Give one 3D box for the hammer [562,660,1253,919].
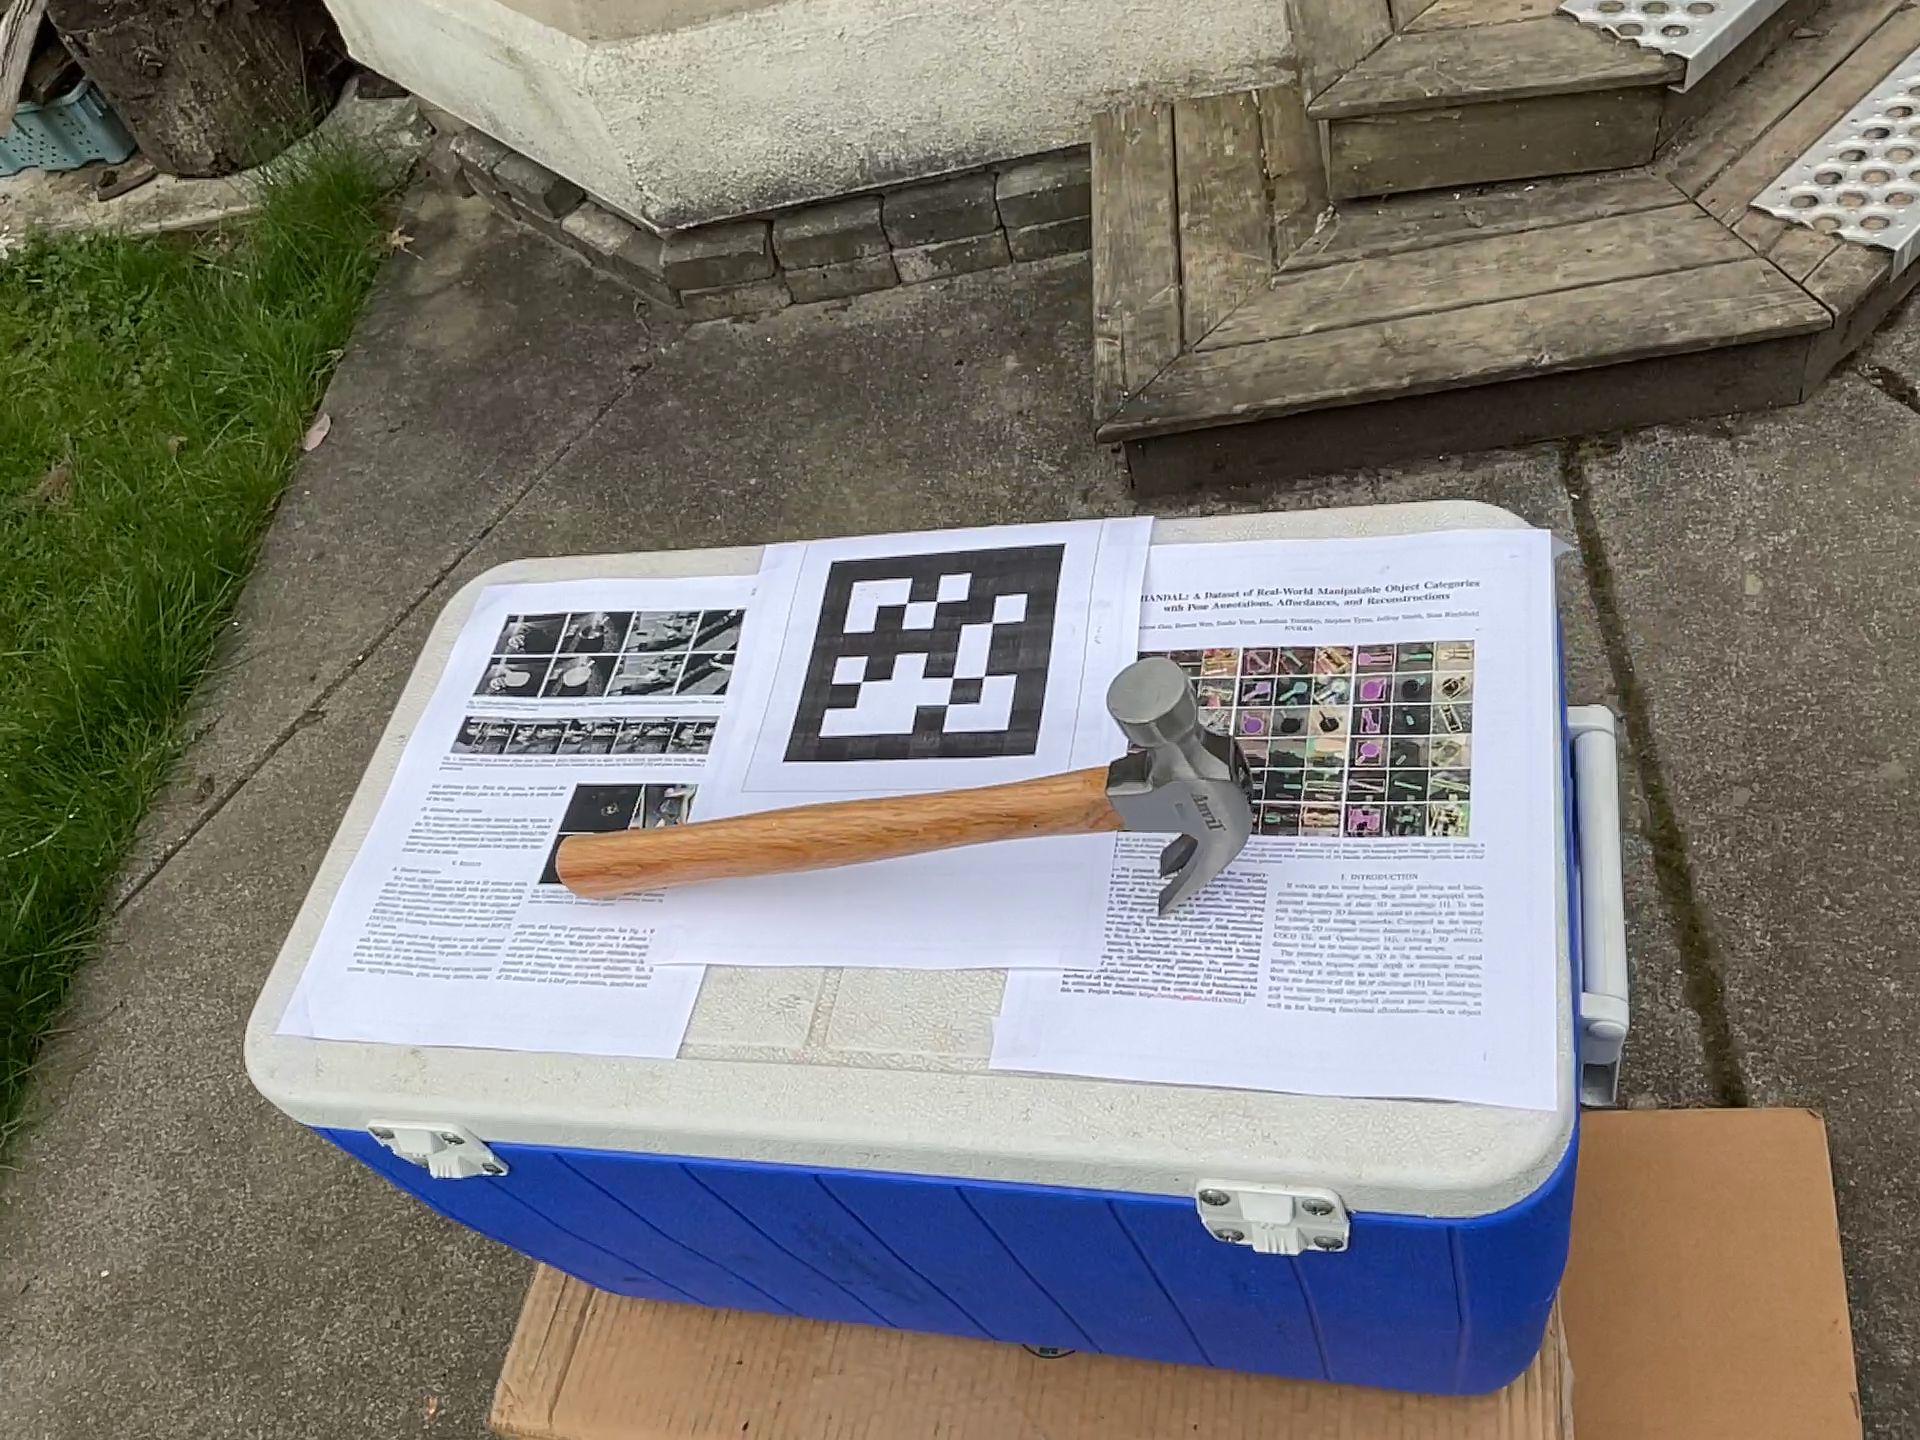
[{"bbox_3d":[-0.034,0.049,0.691,0.331,0.129,0.031,-9,49,27],"label":"hammer"}]
